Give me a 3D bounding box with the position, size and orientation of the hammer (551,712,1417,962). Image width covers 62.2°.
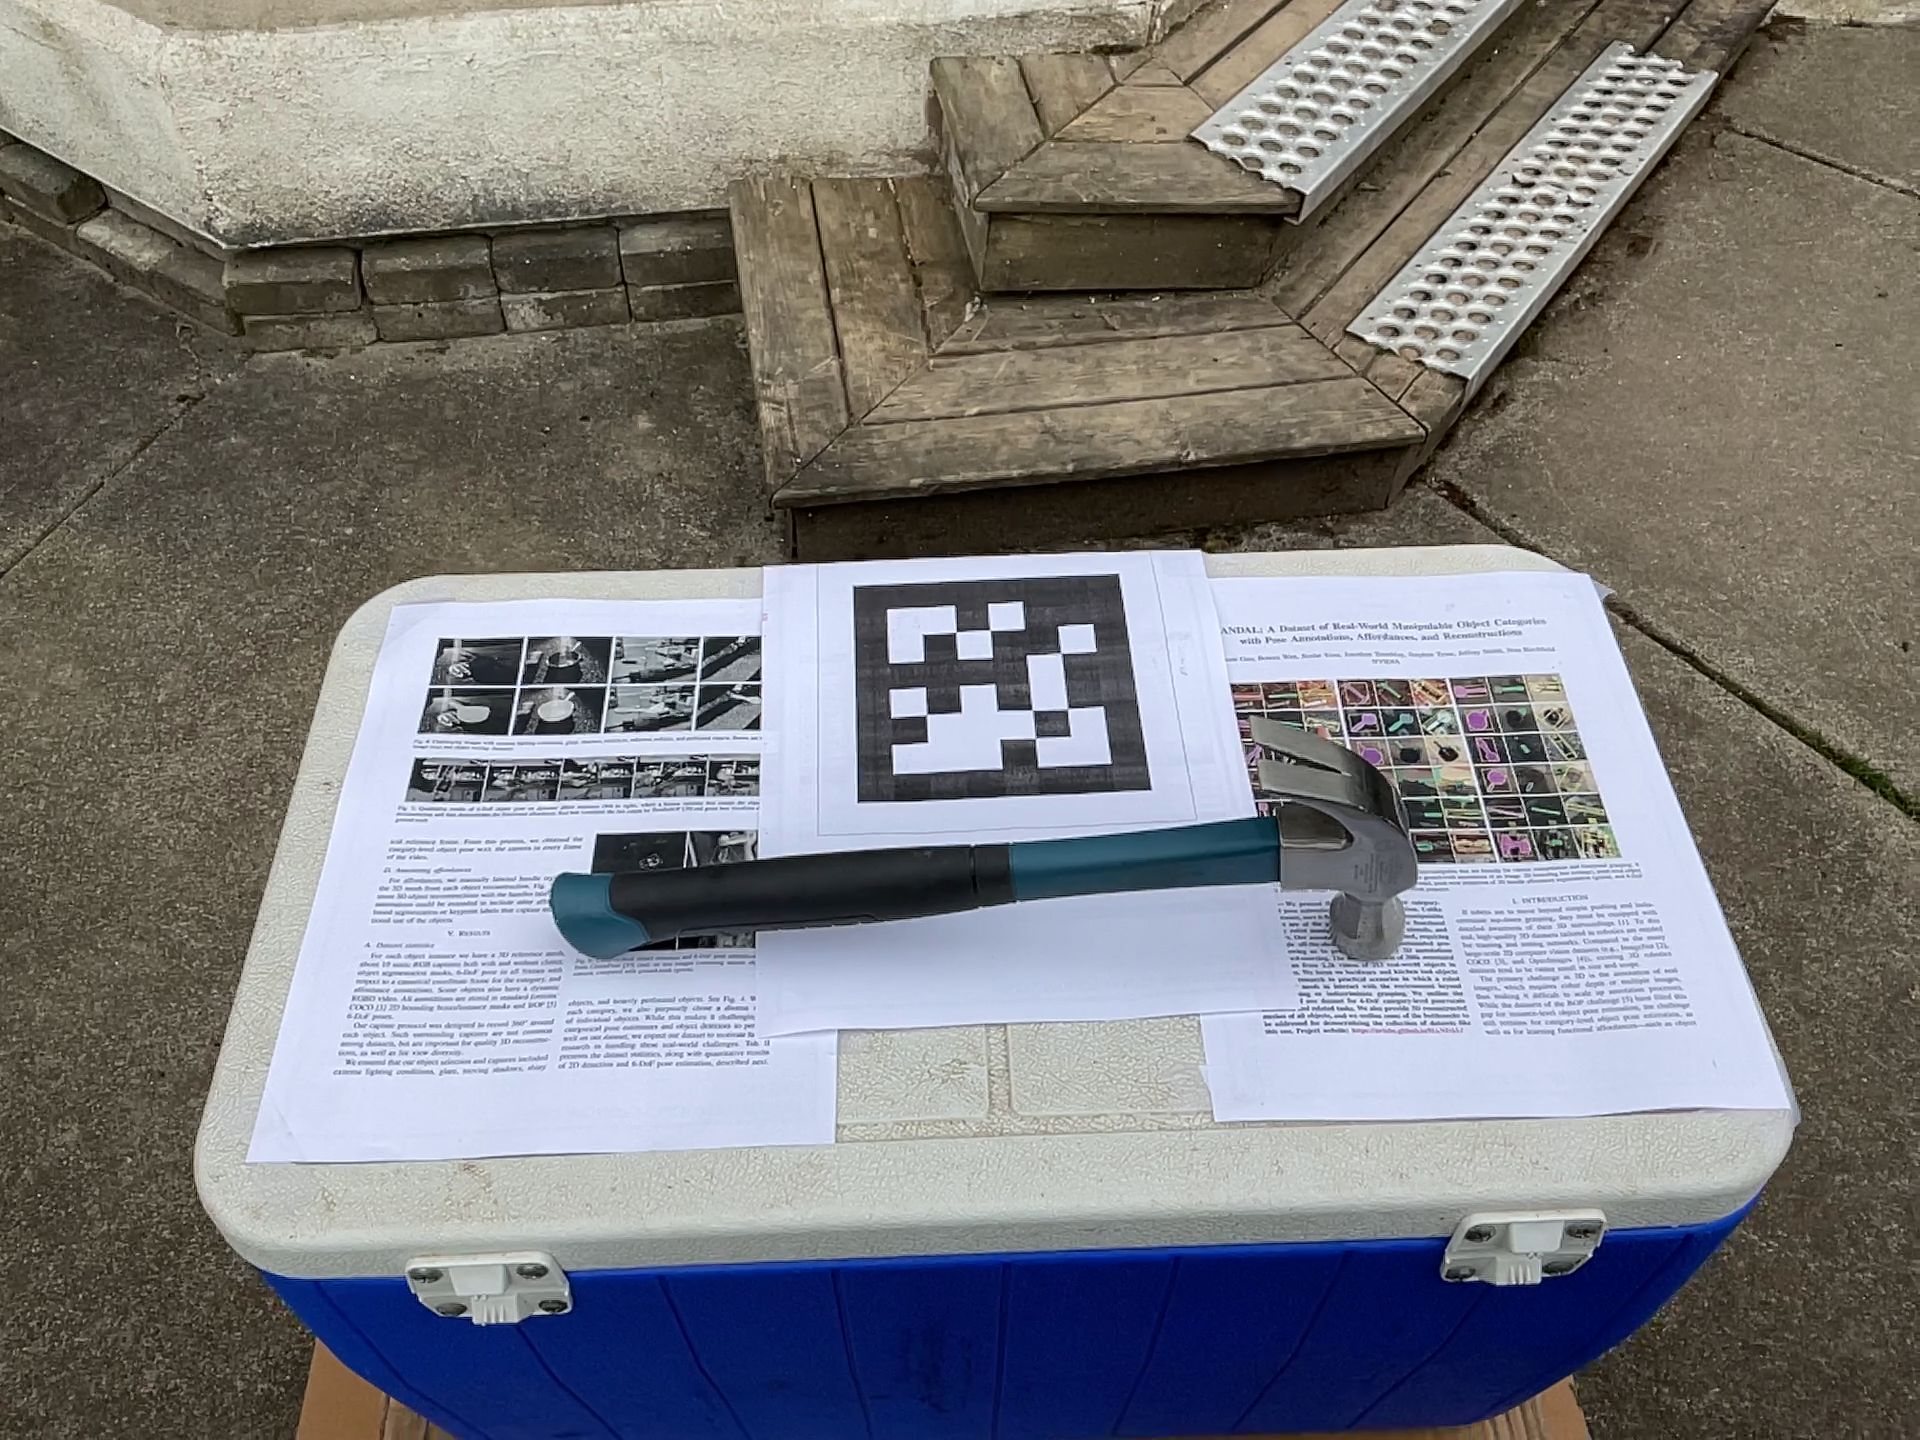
[{"bbox_3d":[0.008,0.062,0.617,0.331,0.128,0.033,-6,49,6],"label":"hammer"}]
